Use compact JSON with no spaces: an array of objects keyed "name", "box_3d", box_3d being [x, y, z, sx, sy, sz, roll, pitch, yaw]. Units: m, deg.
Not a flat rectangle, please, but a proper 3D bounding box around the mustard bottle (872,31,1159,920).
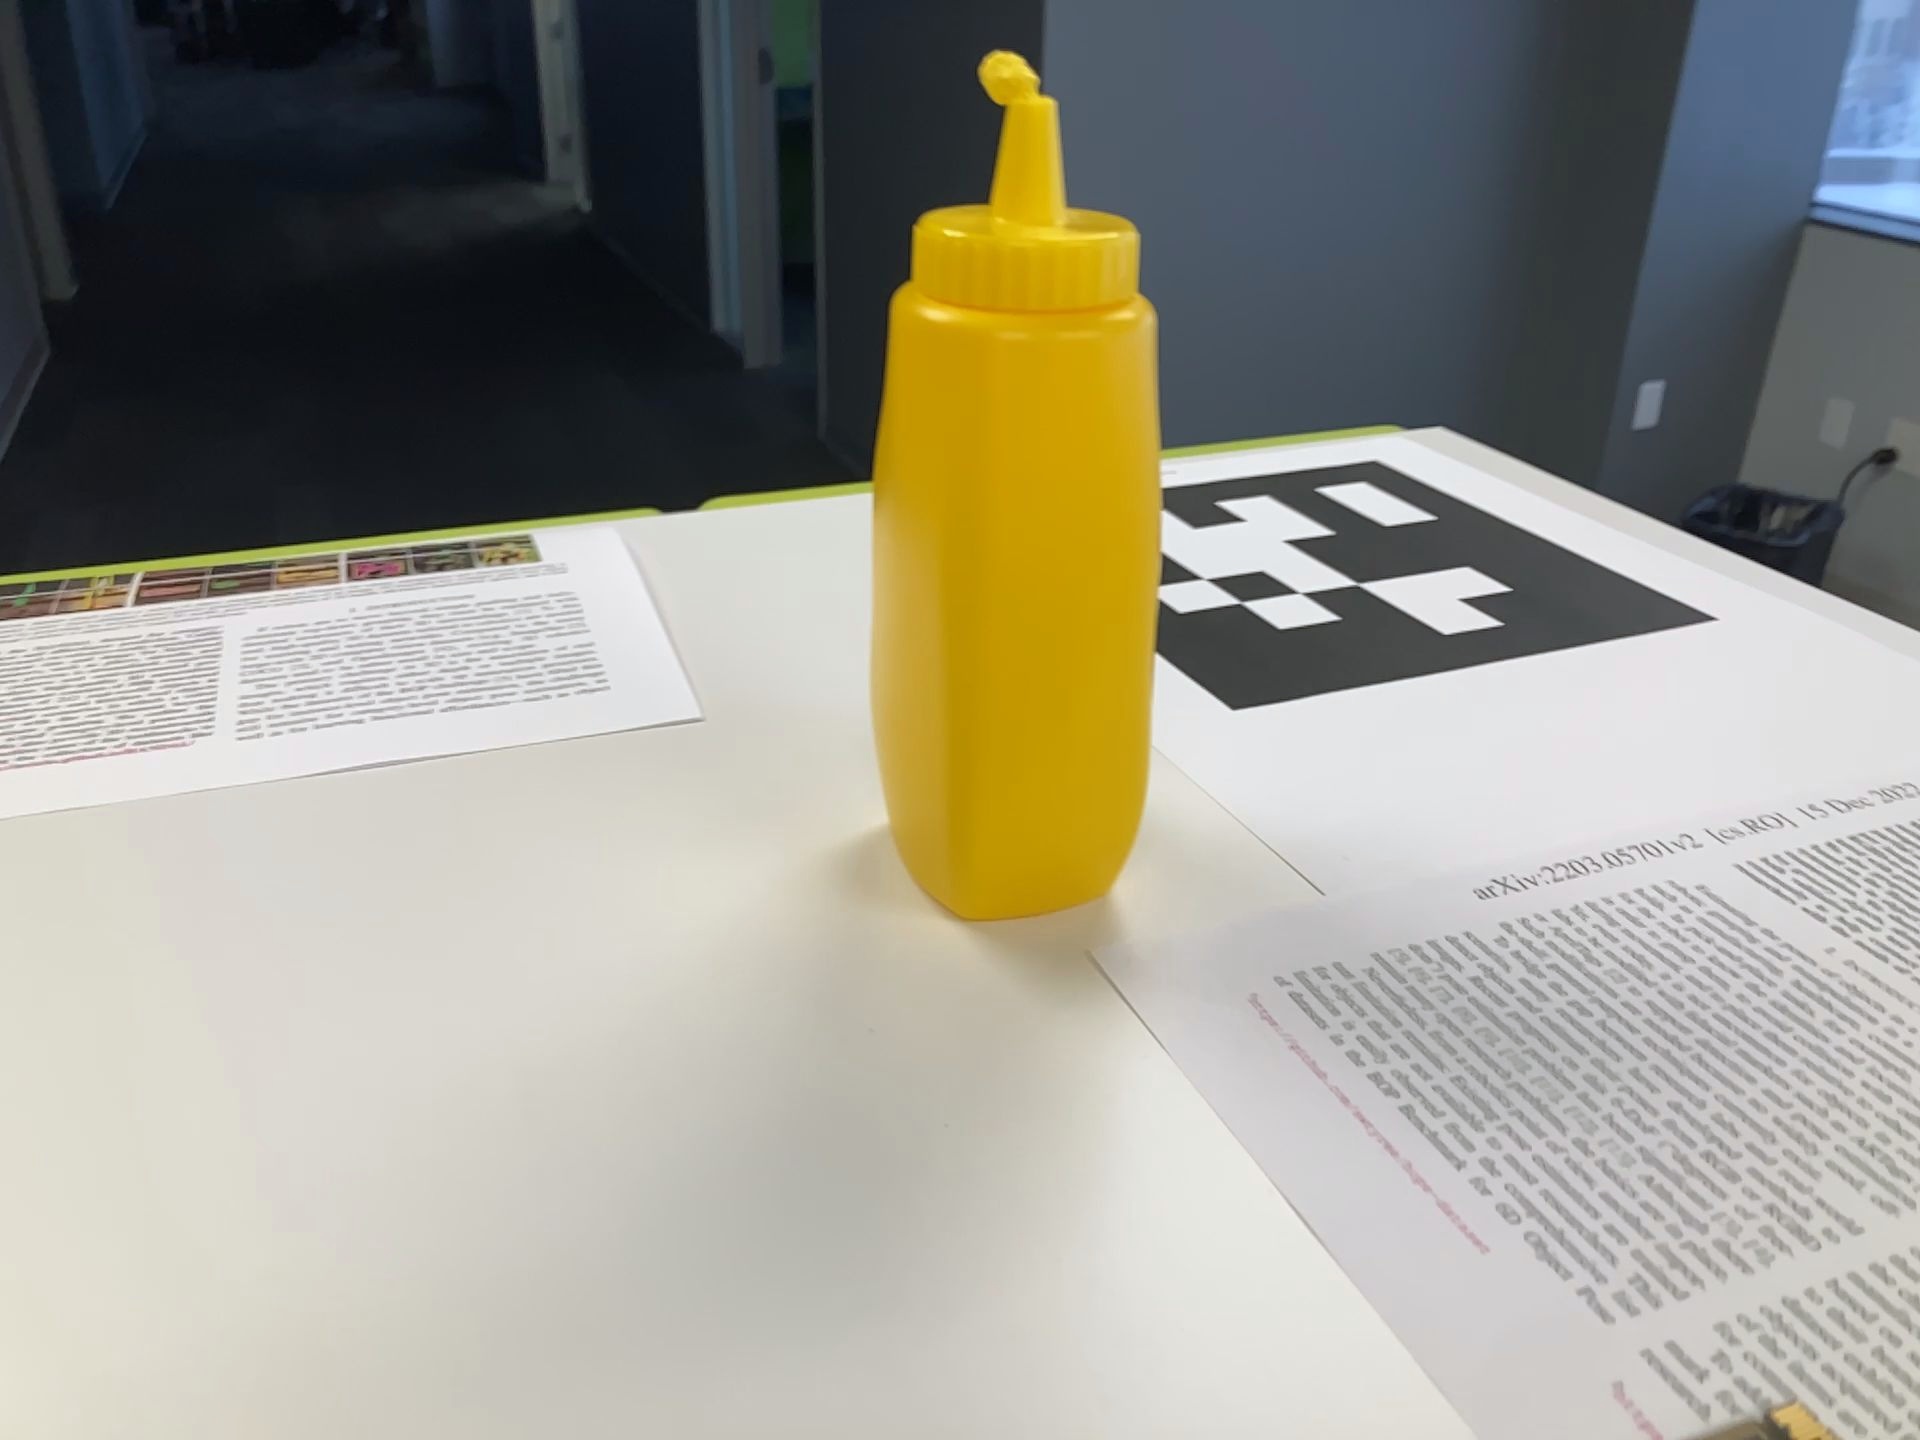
[{"name":"mustard bottle","box_3d":[0.011,-0.042,0.298,0.049,0.160,0.065,-6,28,-17]}]
